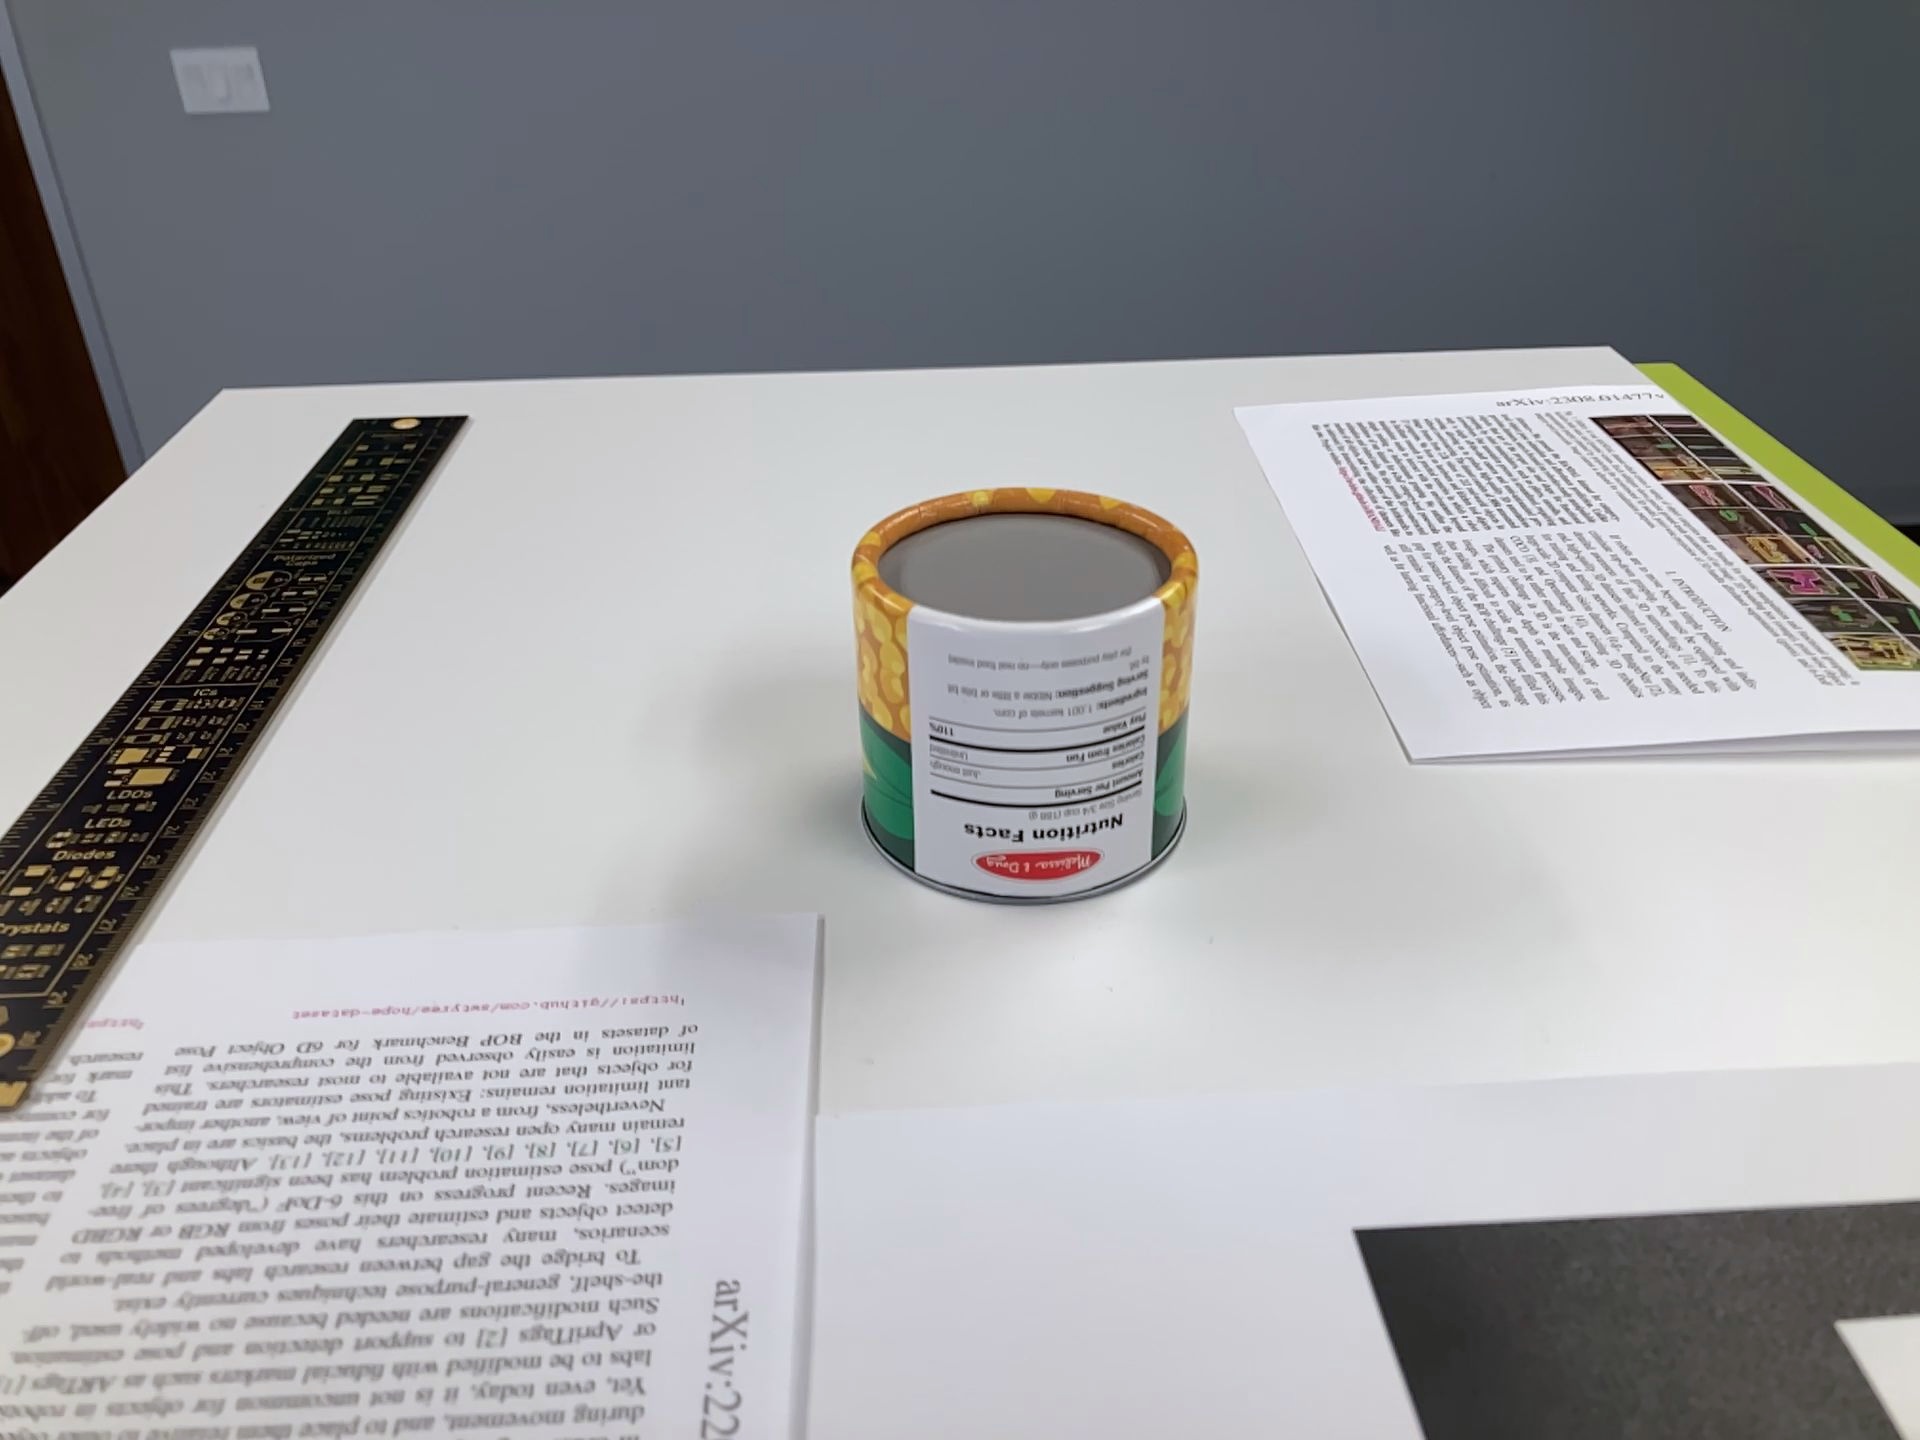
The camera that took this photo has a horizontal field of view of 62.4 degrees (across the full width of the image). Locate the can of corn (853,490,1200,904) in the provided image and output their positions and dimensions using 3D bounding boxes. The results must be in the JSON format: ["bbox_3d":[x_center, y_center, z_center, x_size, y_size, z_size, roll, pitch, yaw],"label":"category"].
[{"bbox_3d":[0.013,-0.008,0.314,0.071,0.058,0.071,-1,30,1],"label":"can of corn"}]
